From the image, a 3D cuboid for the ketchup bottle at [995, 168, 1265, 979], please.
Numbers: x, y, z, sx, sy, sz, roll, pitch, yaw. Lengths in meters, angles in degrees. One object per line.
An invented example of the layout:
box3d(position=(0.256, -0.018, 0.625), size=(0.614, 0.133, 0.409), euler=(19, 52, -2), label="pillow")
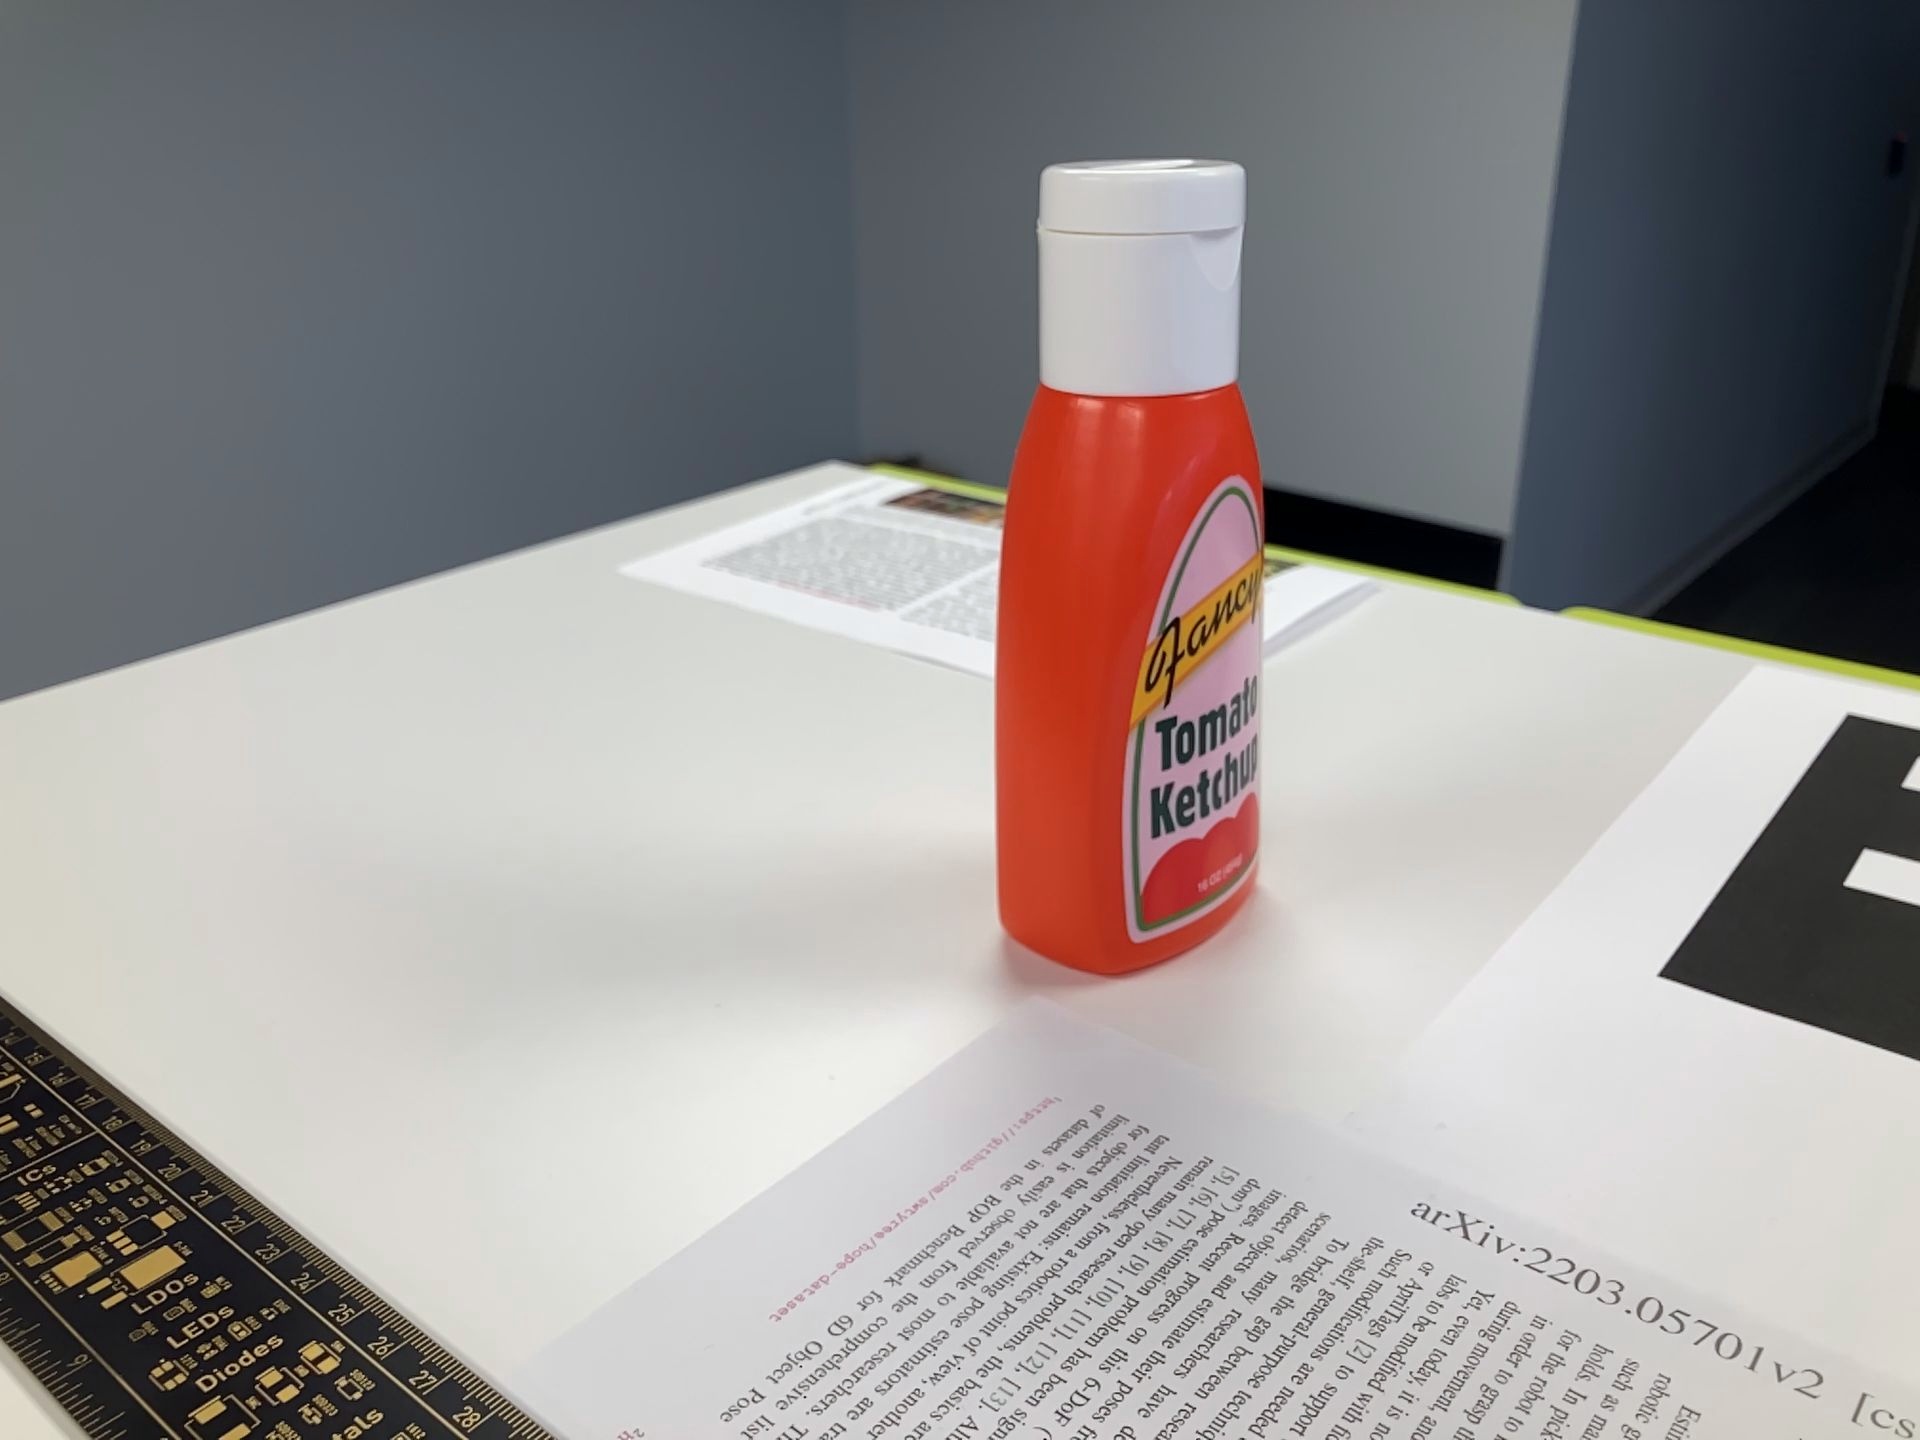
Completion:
box3d(position=(0.034, -0.028, 0.311), size=(0.043, 0.149, 0.065), euler=(16, 28, 38), label="ketchup bottle")
